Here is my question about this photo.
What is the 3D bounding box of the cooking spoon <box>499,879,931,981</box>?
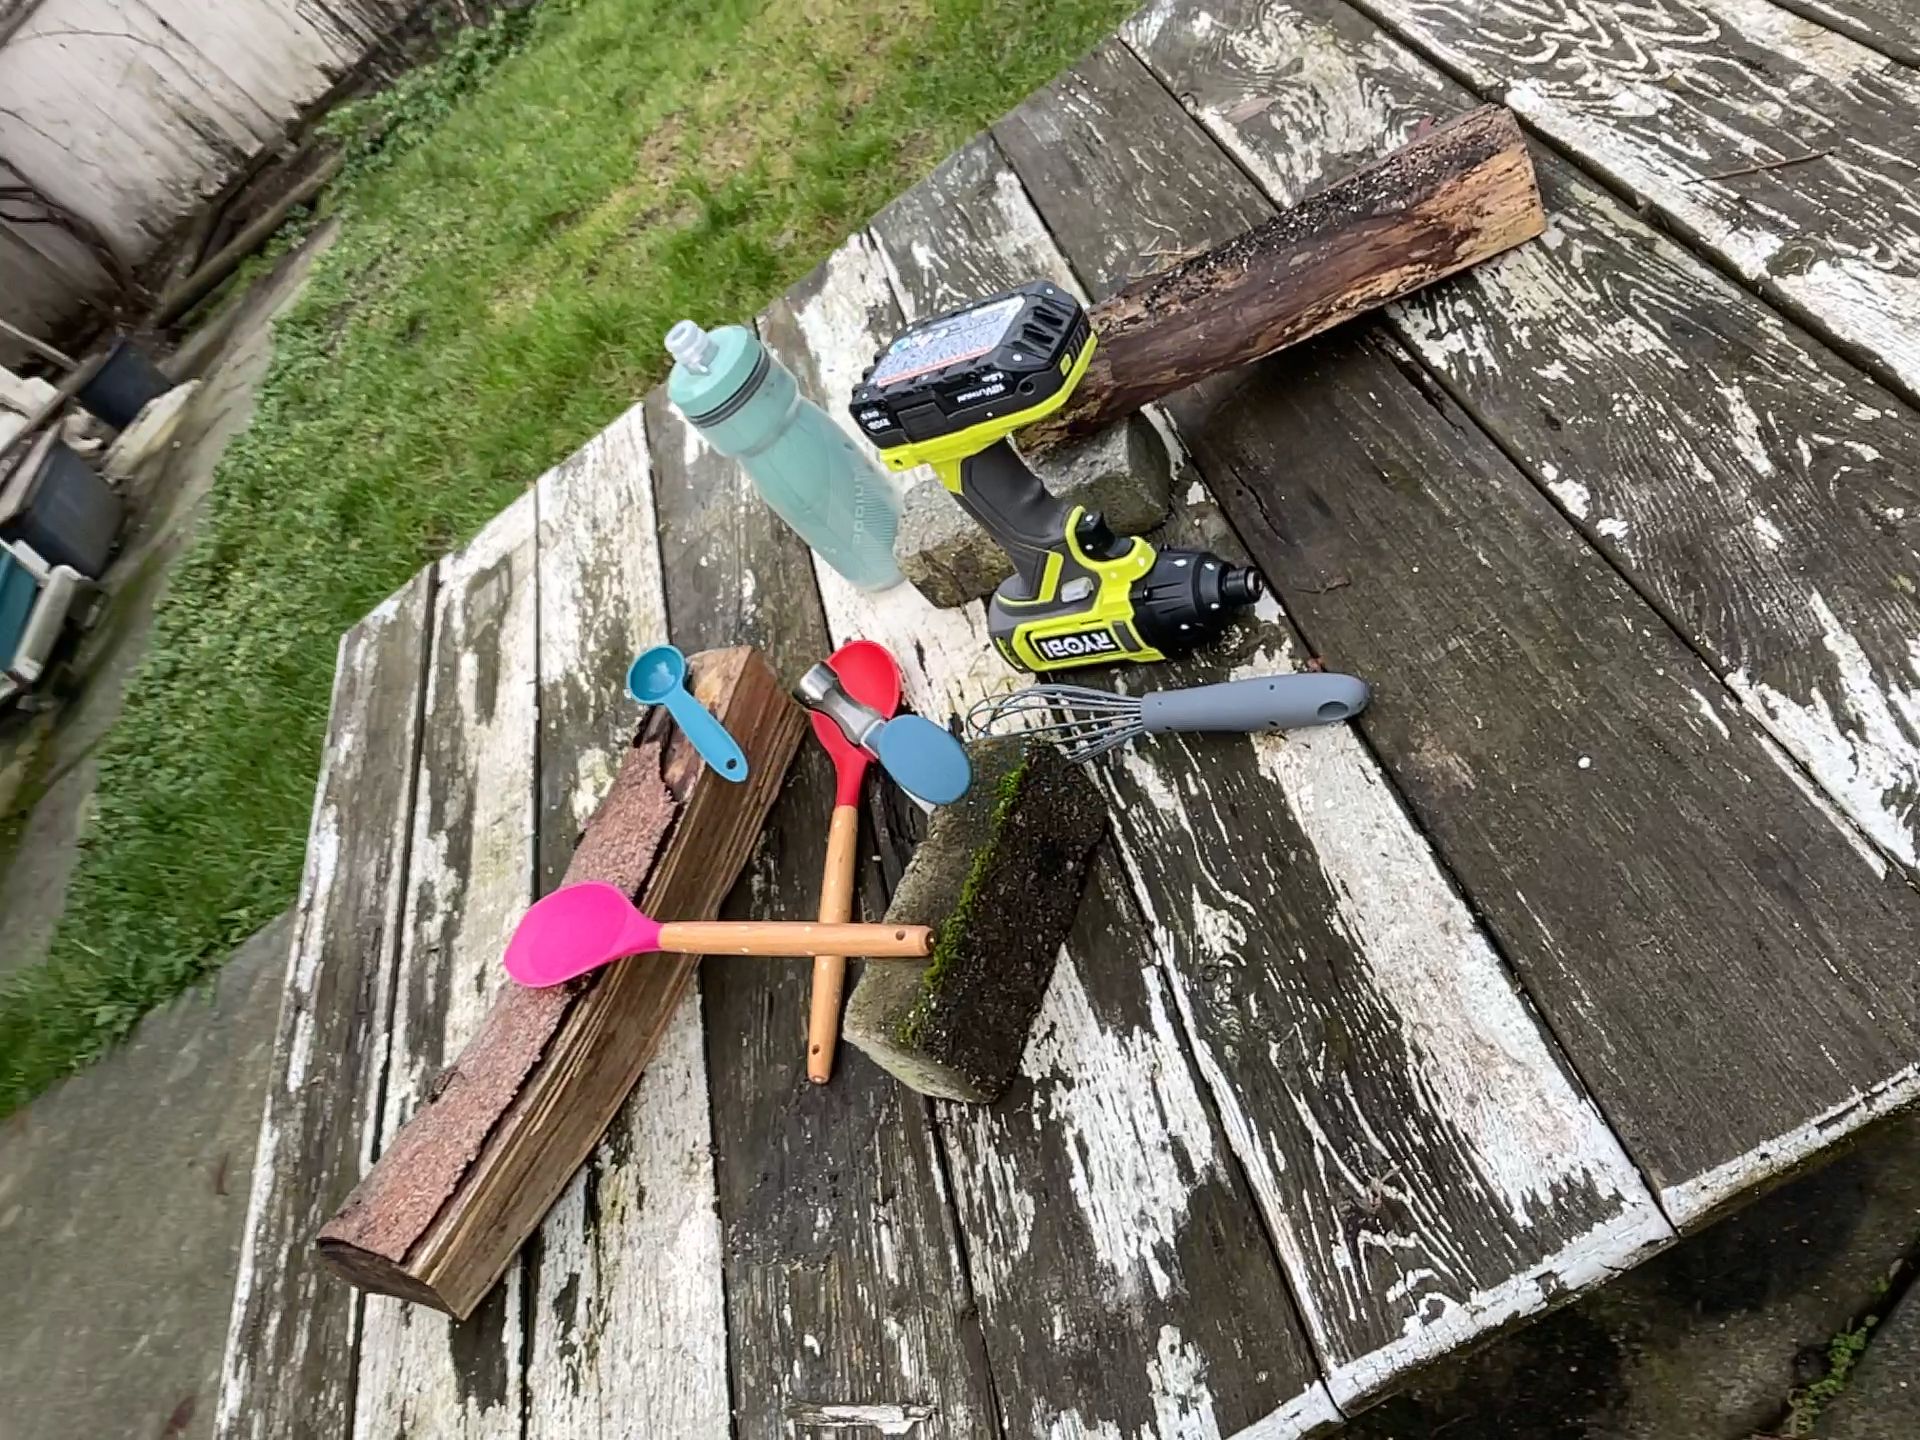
[{"bbox_3d":[-0.146,0.120,0.879,0.319,0.017,0.069,-4,52,36],"label":"cooking spoon"}]

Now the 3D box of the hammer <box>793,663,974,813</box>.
[{"bbox_3d":[-0.031,0.016,0.837,0.033,0.128,0.331,-50,5,-4],"label":"hammer"}]

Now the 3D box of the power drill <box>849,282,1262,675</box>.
[{"bbox_3d":[0.055,-0.123,0.890,0.171,0.223,0.080,-8,43,38],"label":"power drill"}]

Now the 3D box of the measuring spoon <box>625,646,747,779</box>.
[{"bbox_3d":[-0.170,0.000,1.024,0.042,0.021,0.129,-45,58,-1],"label":"measuring spoon"}]

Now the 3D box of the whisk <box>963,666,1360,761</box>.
[{"bbox_3d":[0.103,-0.005,0.869,0.239,0.055,0.055,-8,58,35],"label":"whisk"}]

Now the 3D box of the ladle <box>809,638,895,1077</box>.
[{"bbox_3d":[-0.073,0.076,0.987,0.069,0.031,0.316,-21,45,25],"label":"ladle"}]
